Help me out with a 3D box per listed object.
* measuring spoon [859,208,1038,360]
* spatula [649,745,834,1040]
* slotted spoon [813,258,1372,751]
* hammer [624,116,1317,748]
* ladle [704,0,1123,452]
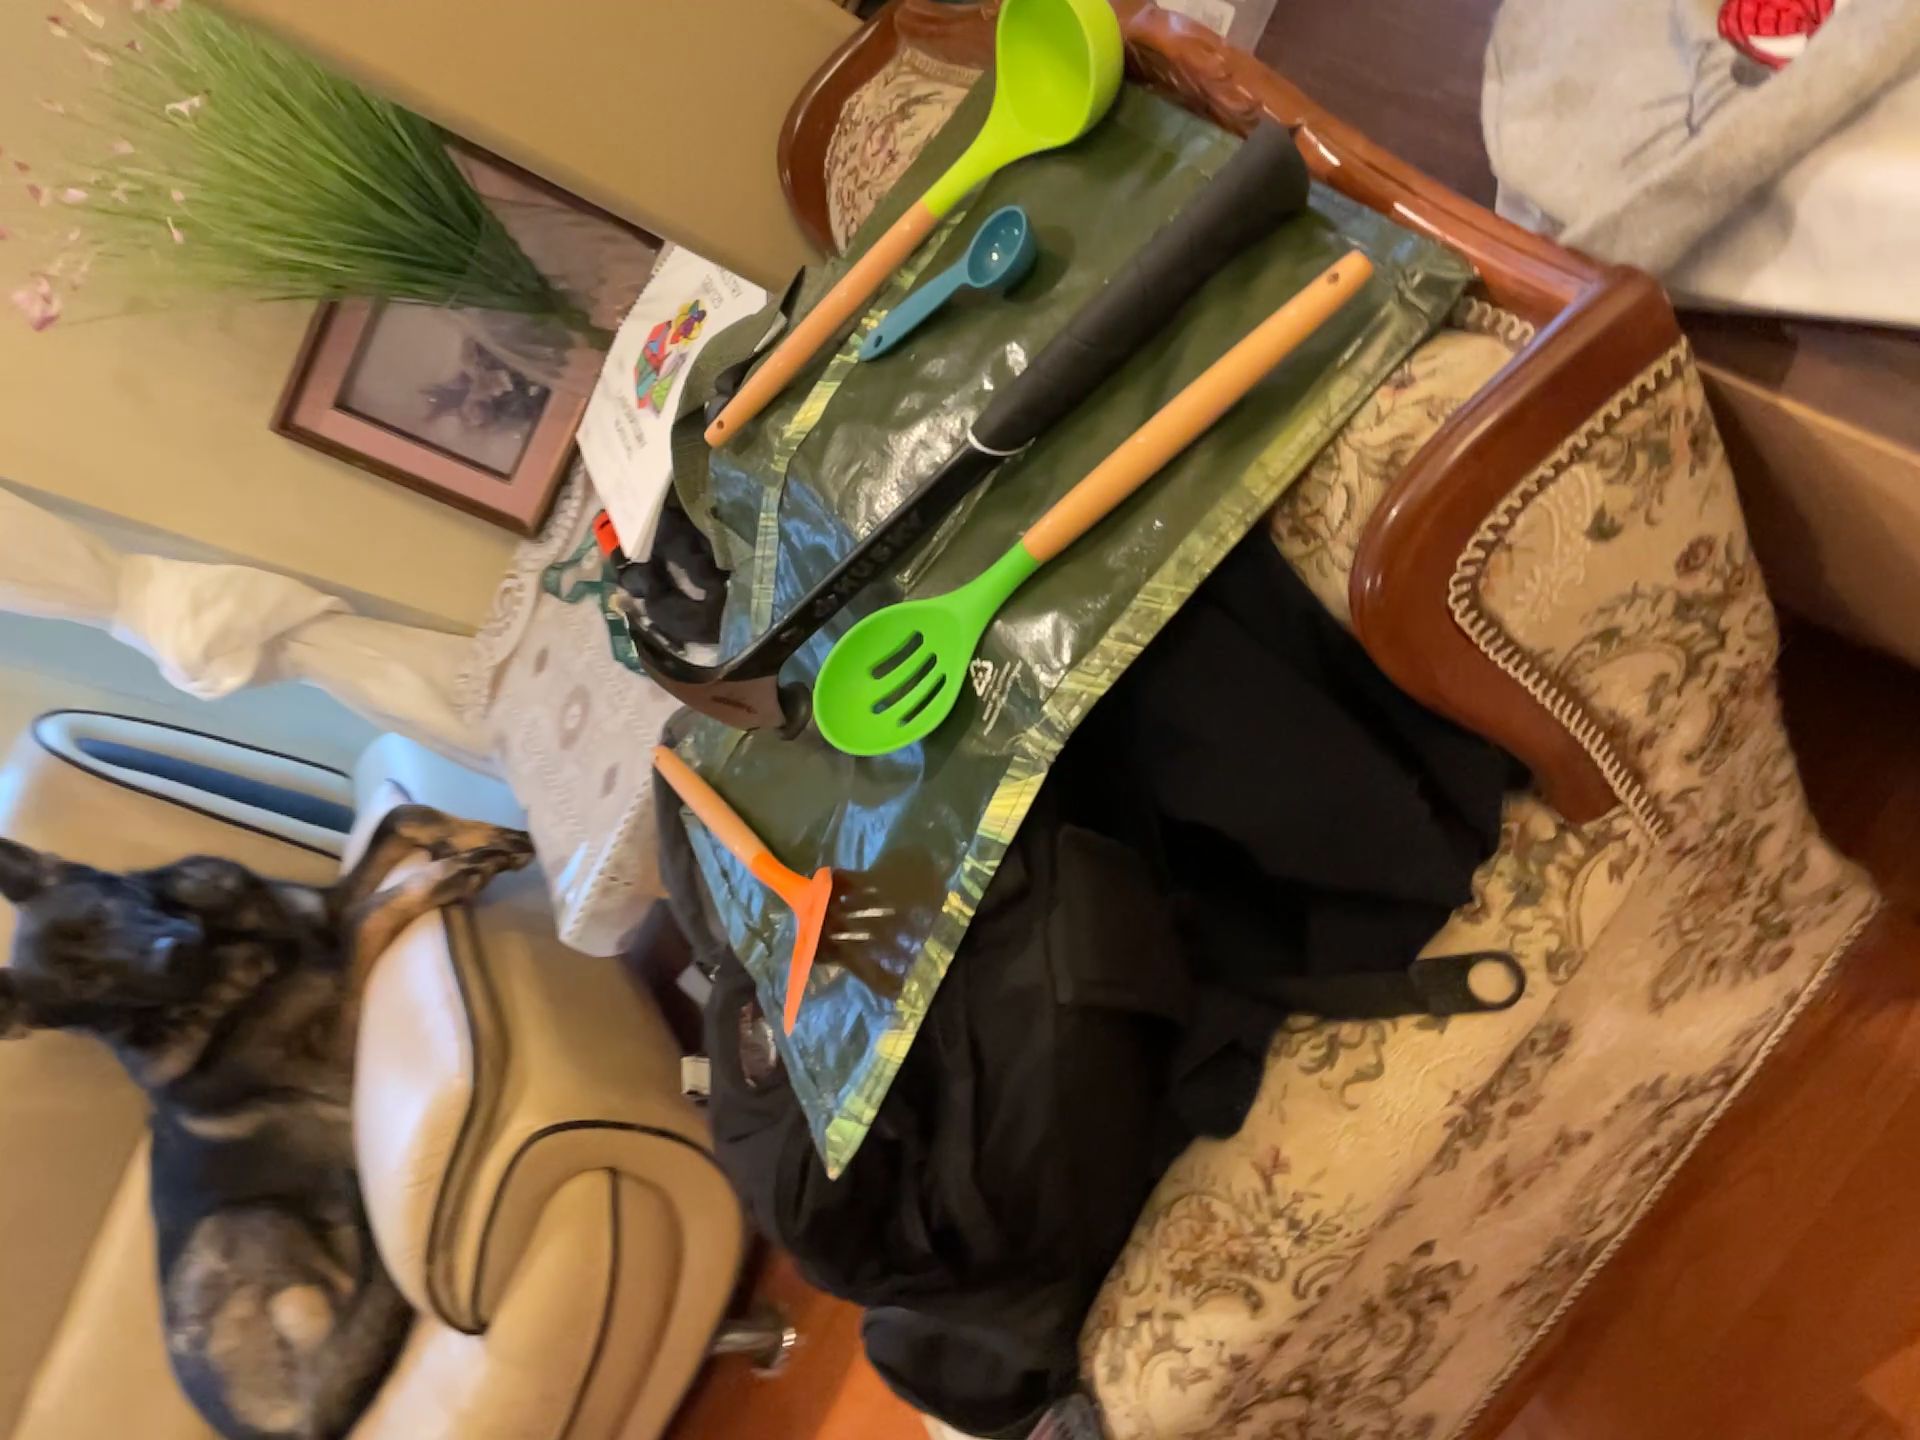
[{"bbox_3d":[-0.004,-0.213,0.805,0.129,0.021,0.042,-26,54,43],"label":"measuring spoon"},{"bbox_3d":[-0.129,0.071,0.895,0.323,0.041,0.081,34,110,56],"label":"spatula"},{"bbox_3d":[0.052,-0.089,0.700,0.314,0.031,0.070,-40,61,23],"label":"slotted spoon"},{"bbox_3d":[0.003,-0.126,0.756,0.409,0.149,0.036,-41,54,25],"label":"hammer"},{"bbox_3d":[-0.039,-0.250,0.832,0.320,0.062,0.078,-40,72,26],"label":"ladle"}]
